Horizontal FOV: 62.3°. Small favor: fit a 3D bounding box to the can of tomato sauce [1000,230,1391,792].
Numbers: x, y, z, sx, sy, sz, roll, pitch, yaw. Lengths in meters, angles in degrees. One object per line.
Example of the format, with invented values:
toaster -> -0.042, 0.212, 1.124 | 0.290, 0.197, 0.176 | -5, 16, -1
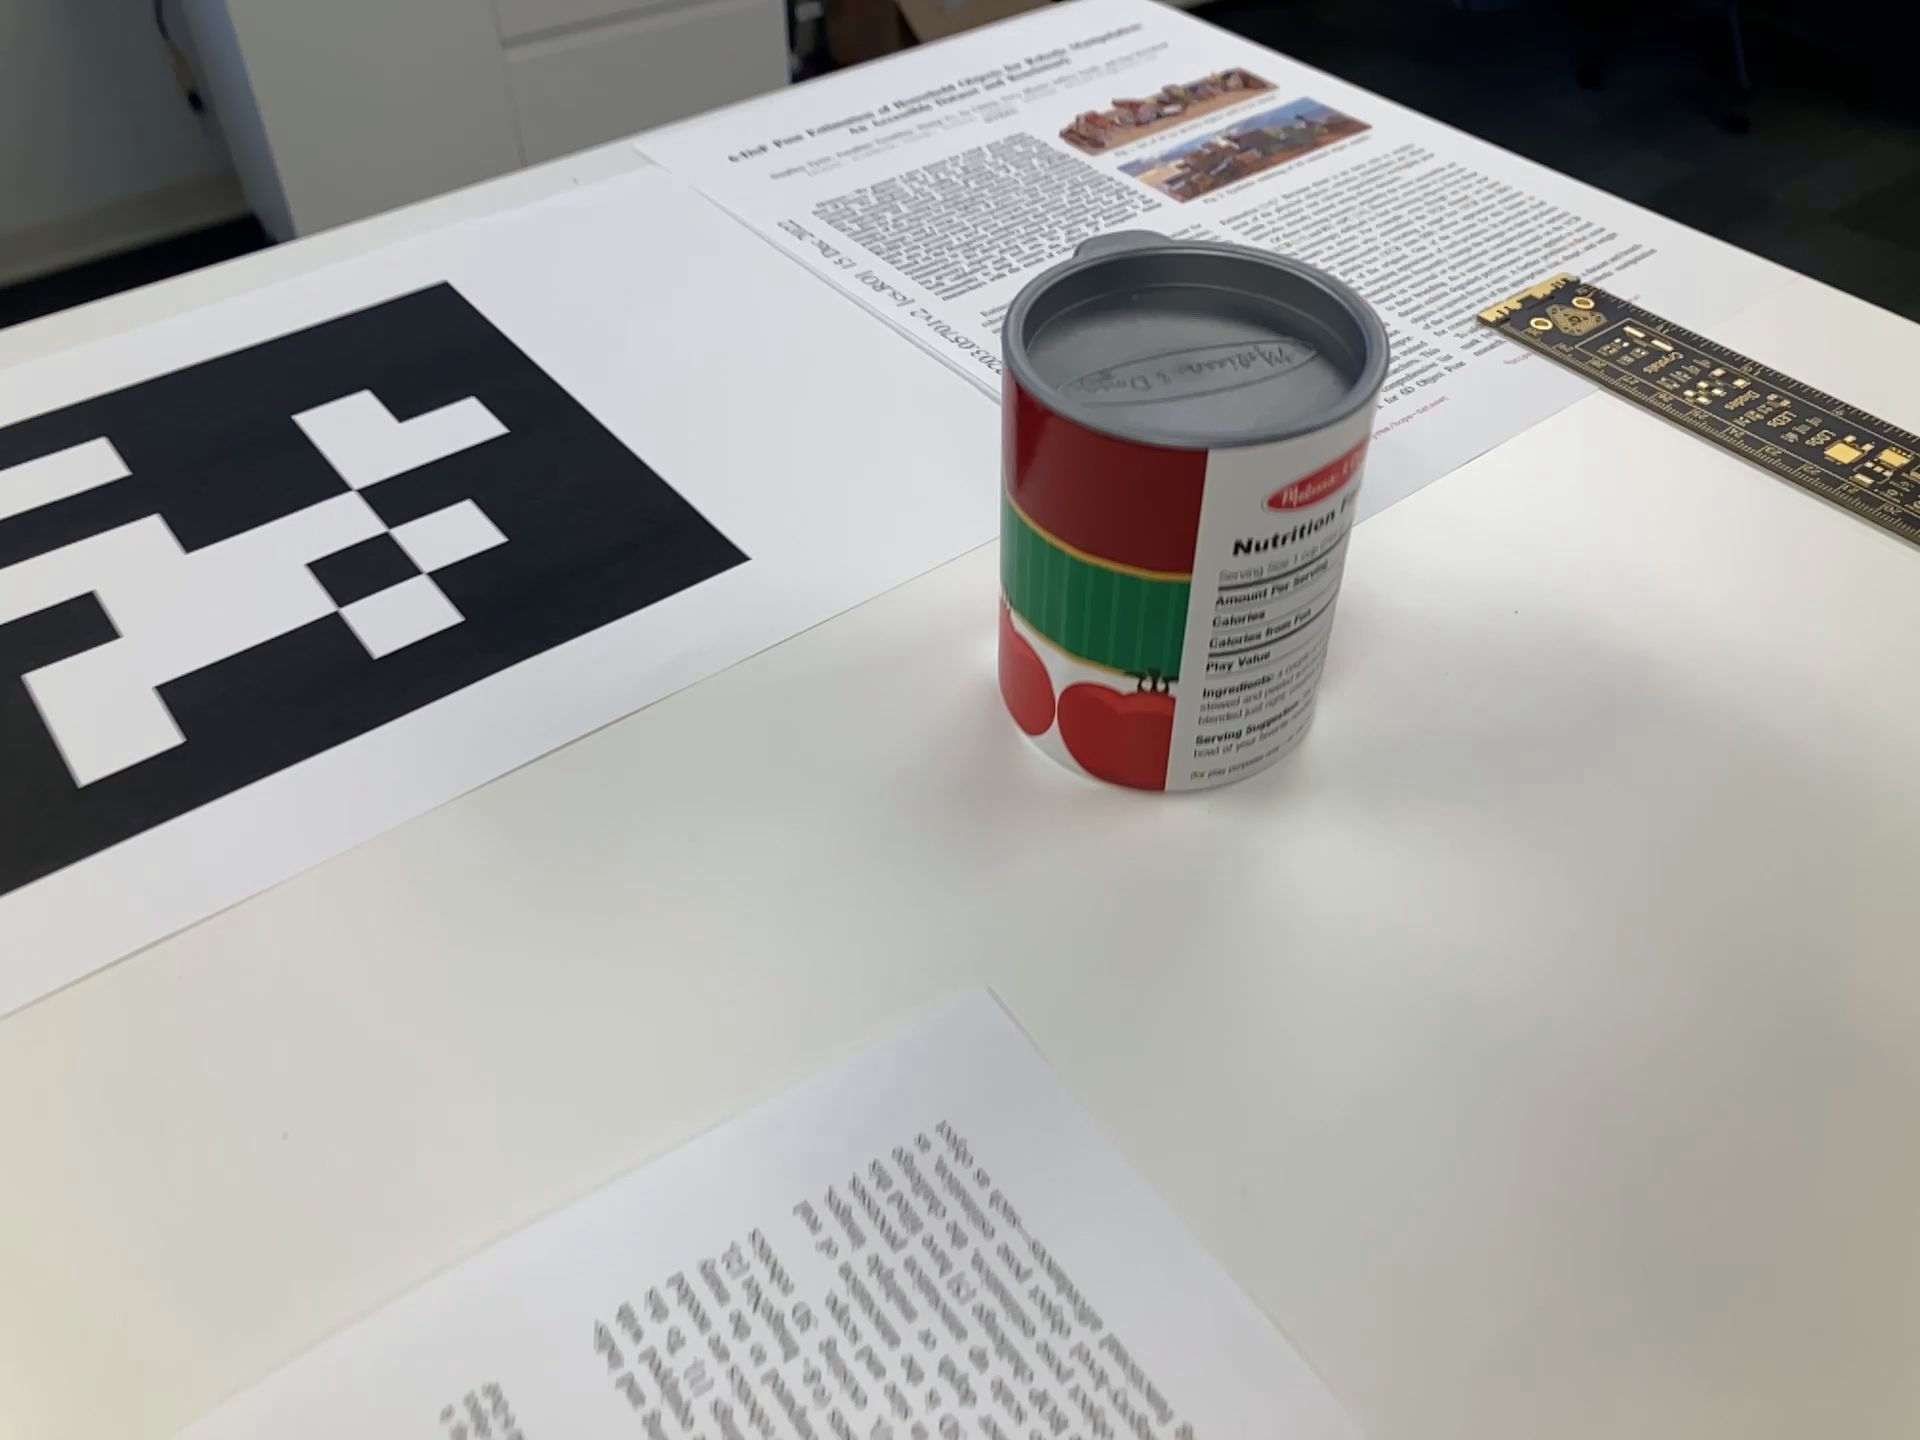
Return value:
can of tomato sauce -> 0.039, -0.039, 0.303 | 0.071, 0.083, 0.071 | 0, 44, 0
